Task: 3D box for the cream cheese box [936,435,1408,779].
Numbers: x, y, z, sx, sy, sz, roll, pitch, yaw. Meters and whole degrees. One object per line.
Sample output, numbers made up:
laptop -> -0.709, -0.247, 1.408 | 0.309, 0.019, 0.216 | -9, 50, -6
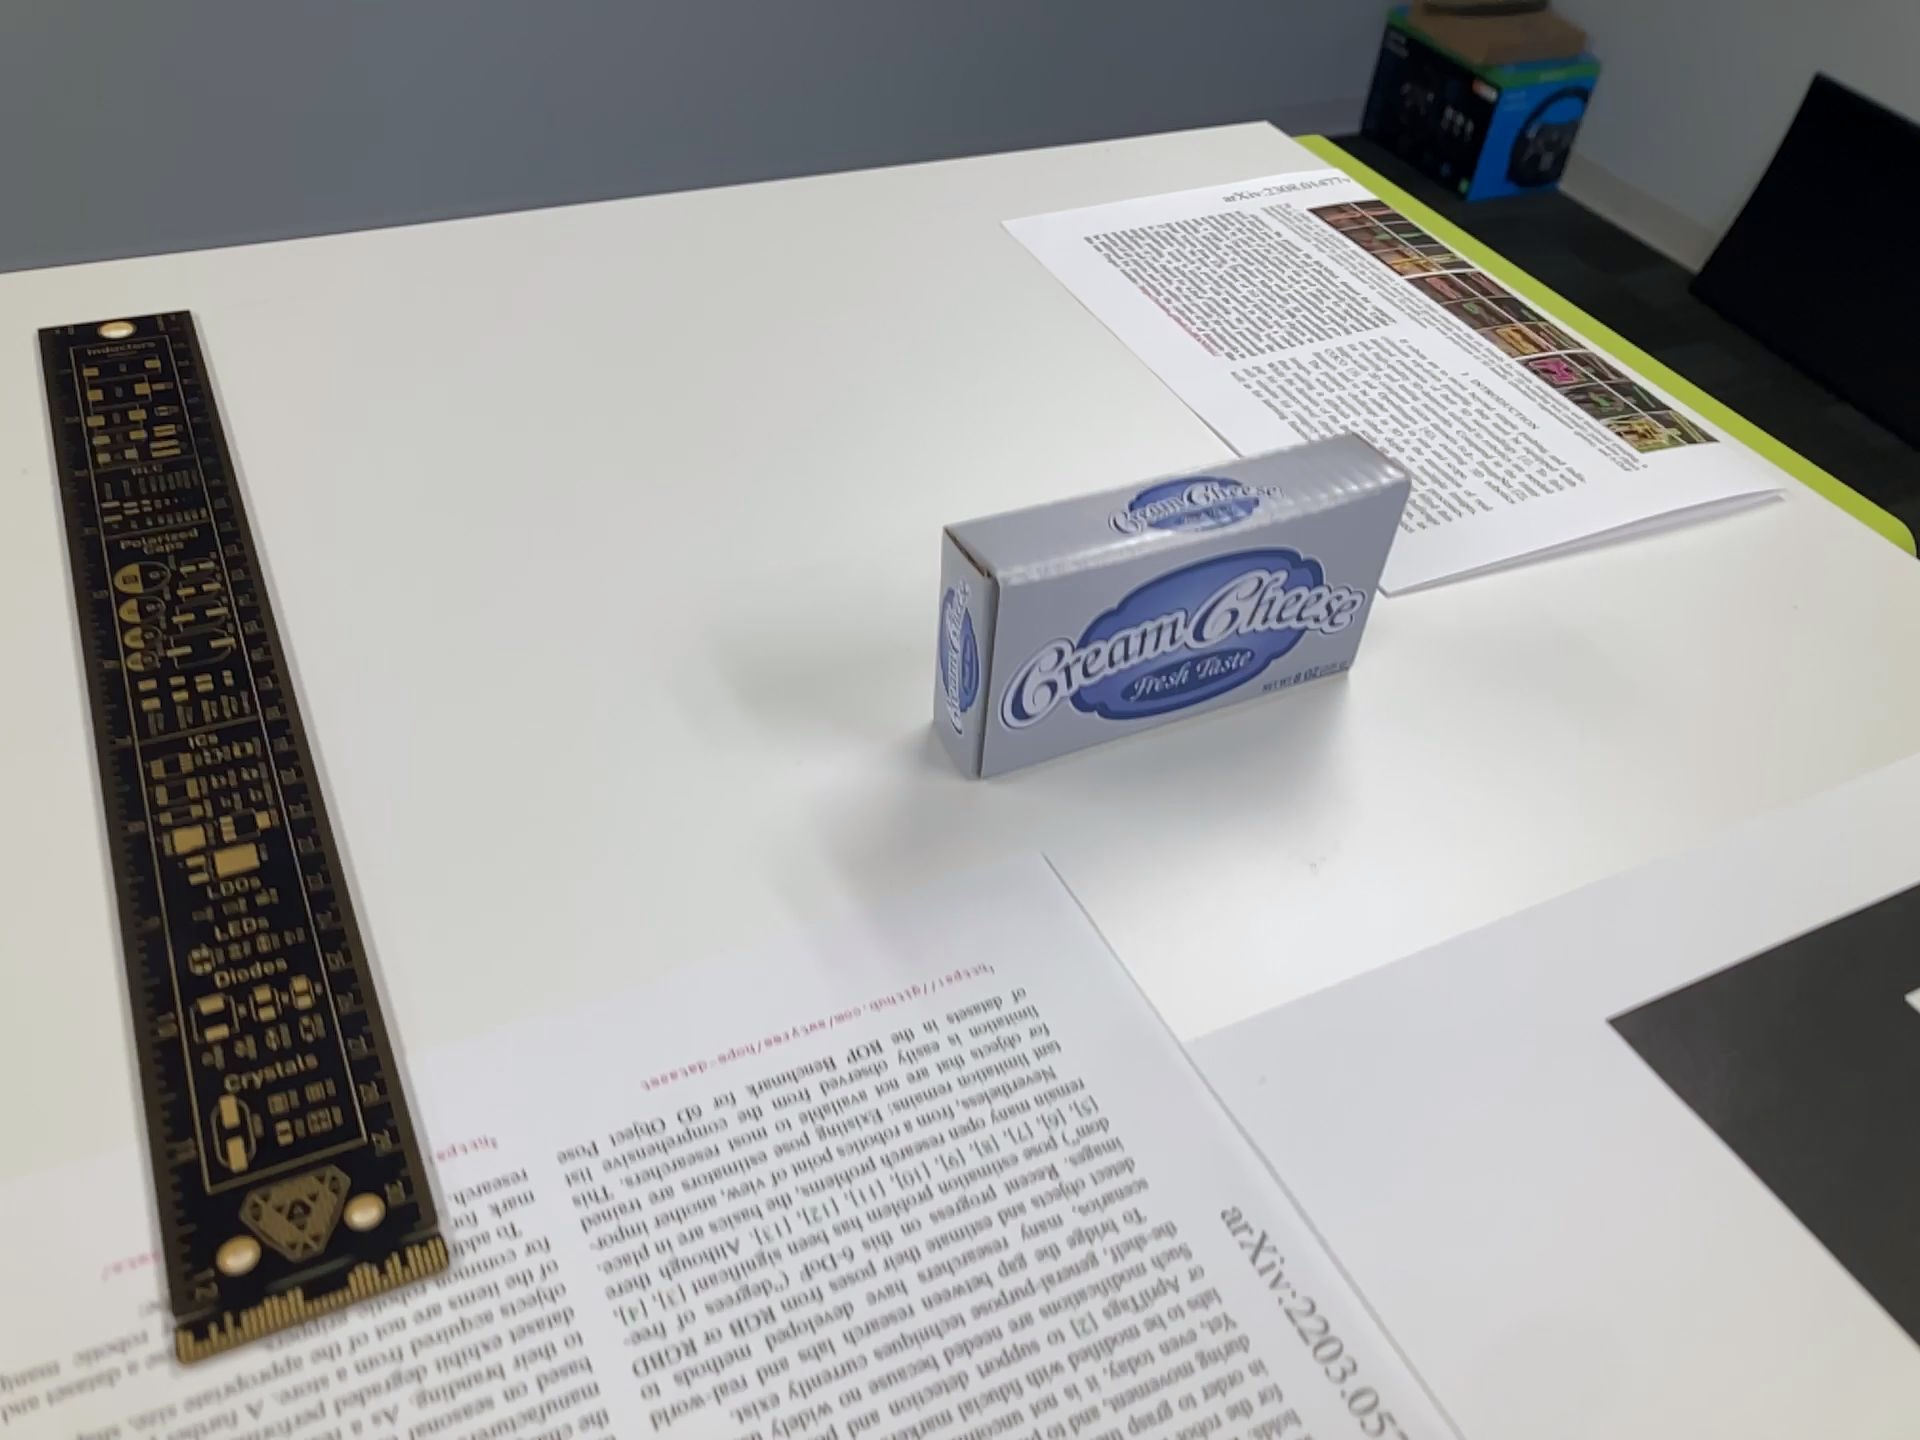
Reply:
cream cheese box -> 0.045, -0.025, 0.346 | 0.104, 0.053, 0.024 | -16, 44, -23
